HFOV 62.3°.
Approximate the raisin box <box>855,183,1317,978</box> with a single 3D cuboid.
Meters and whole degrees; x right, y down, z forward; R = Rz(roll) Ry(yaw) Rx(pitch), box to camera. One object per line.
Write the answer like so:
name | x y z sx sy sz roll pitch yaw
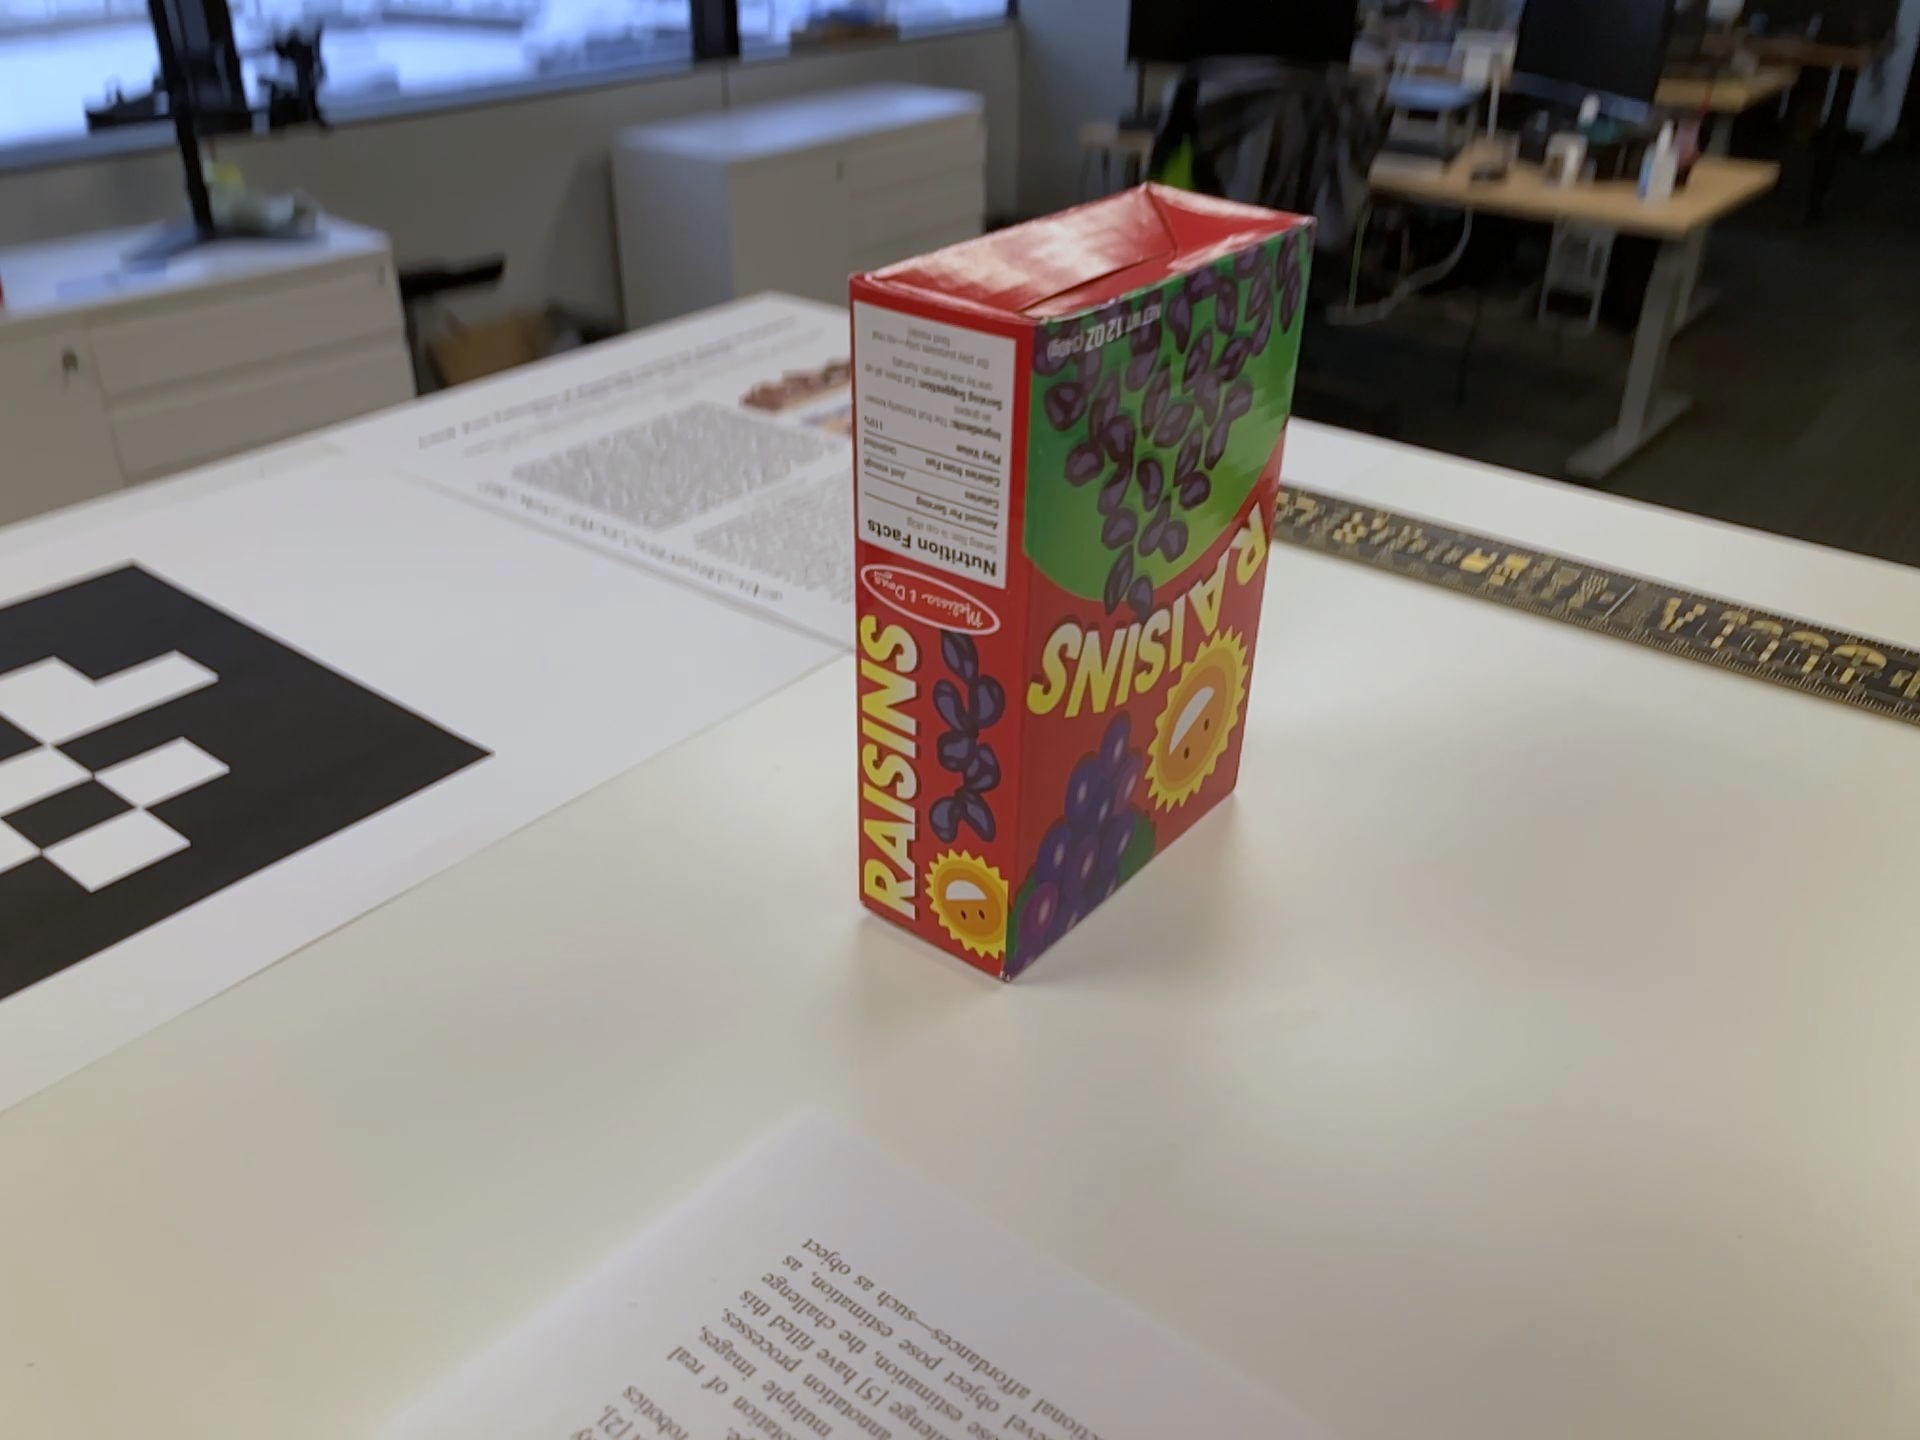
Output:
raisin box | 0.021 -0.027 0.292 0.040 0.123 0.086 22 36 31
